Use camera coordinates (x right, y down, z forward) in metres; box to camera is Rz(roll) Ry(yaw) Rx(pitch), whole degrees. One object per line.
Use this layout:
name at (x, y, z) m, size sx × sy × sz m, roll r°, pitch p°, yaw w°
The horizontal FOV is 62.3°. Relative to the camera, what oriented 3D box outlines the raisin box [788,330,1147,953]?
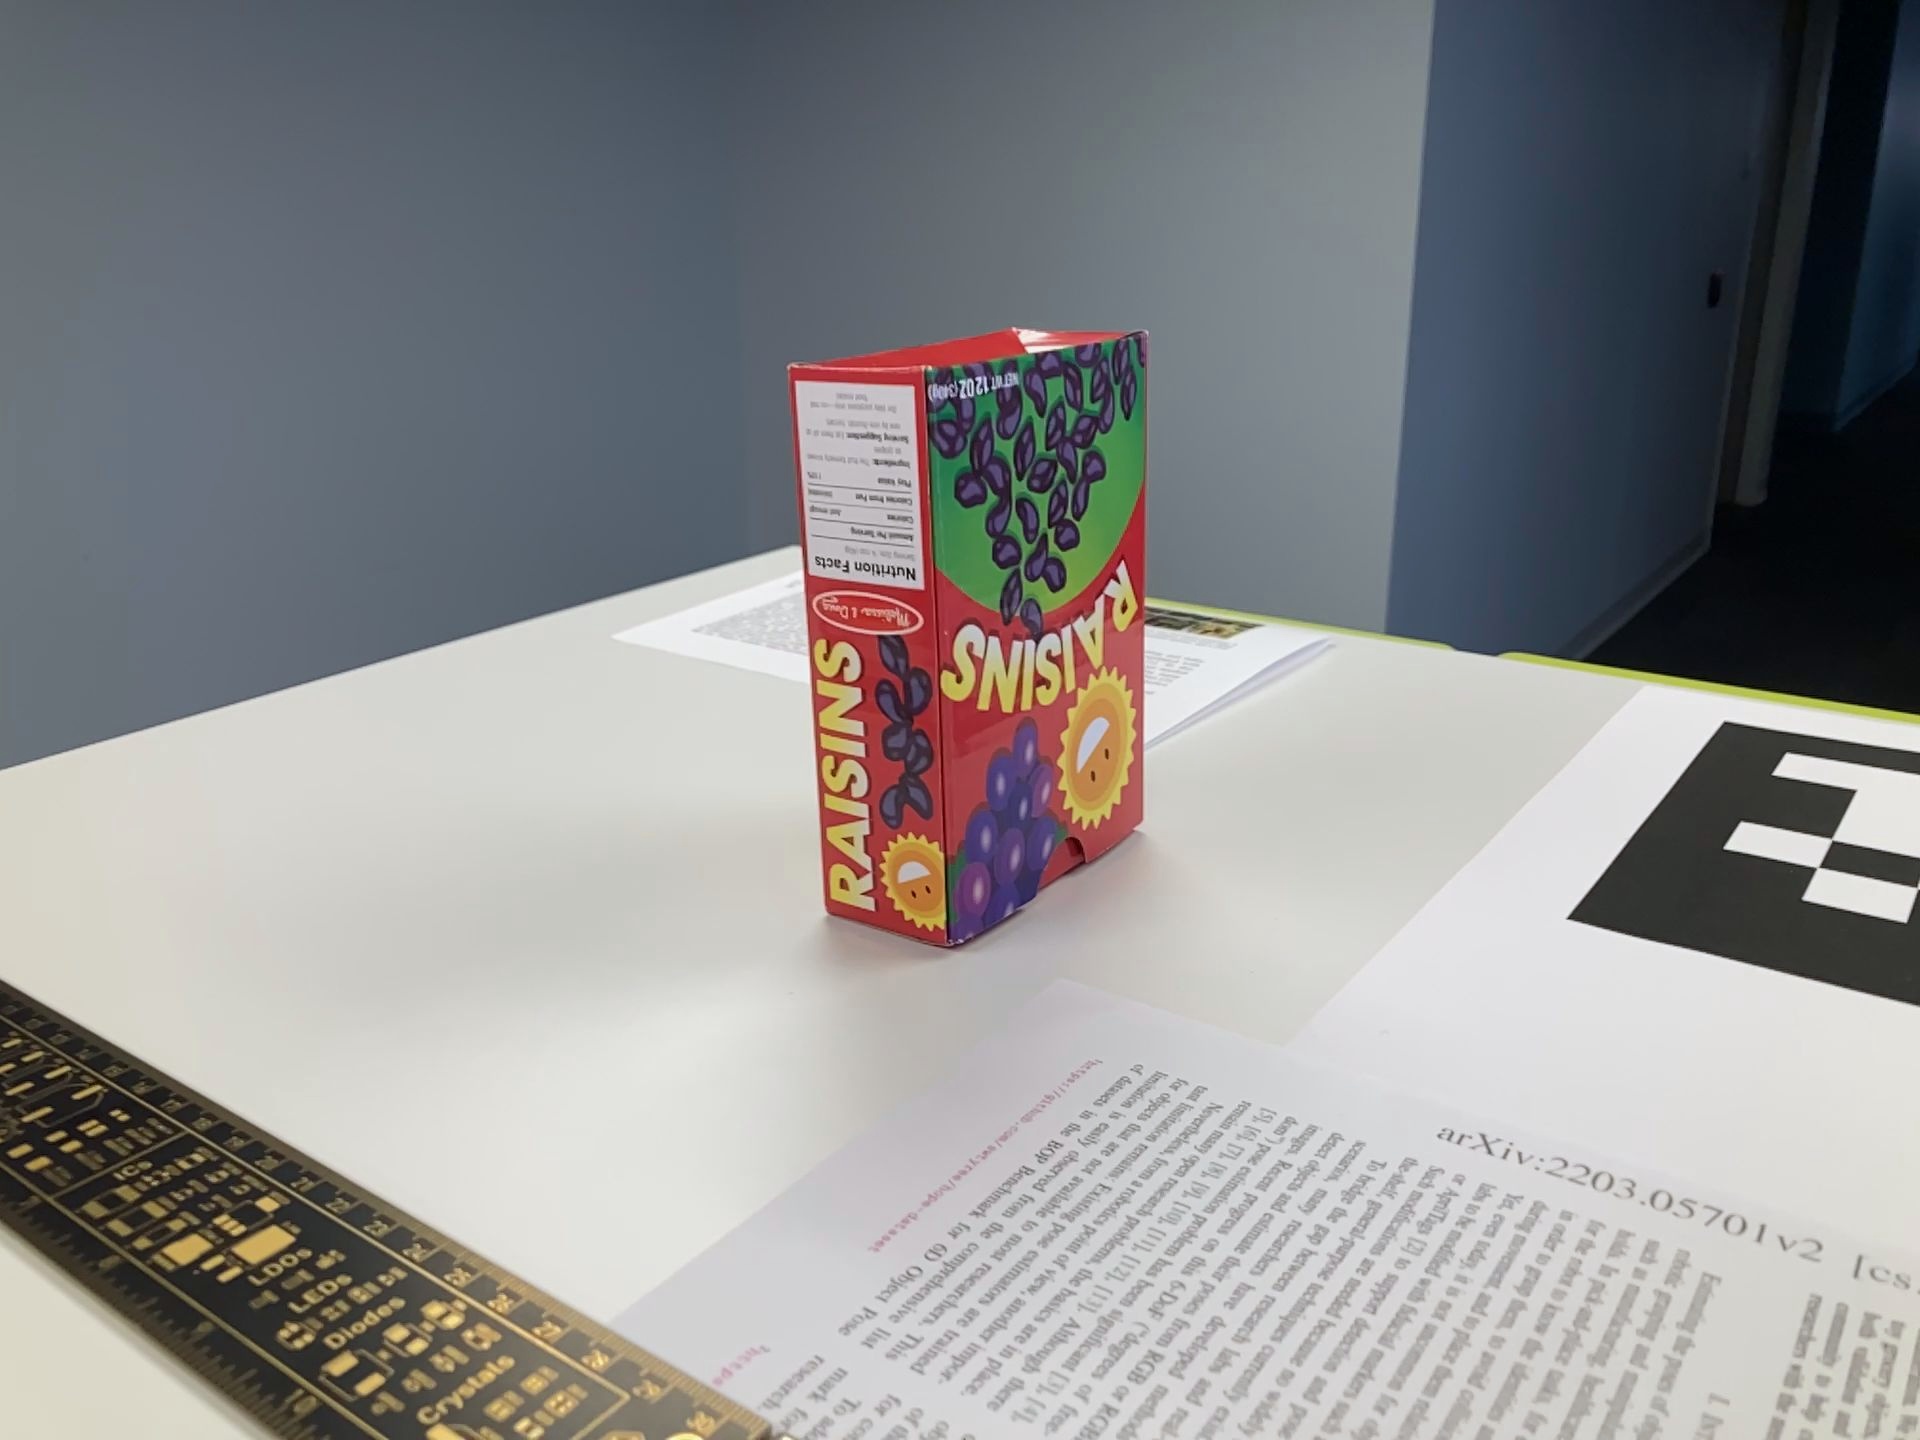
raisin box at (0.007, -0.022, 0.357) m, size 0.040 × 0.123 × 0.086 m, roll 10°, pitch 21°, yaw 33°
